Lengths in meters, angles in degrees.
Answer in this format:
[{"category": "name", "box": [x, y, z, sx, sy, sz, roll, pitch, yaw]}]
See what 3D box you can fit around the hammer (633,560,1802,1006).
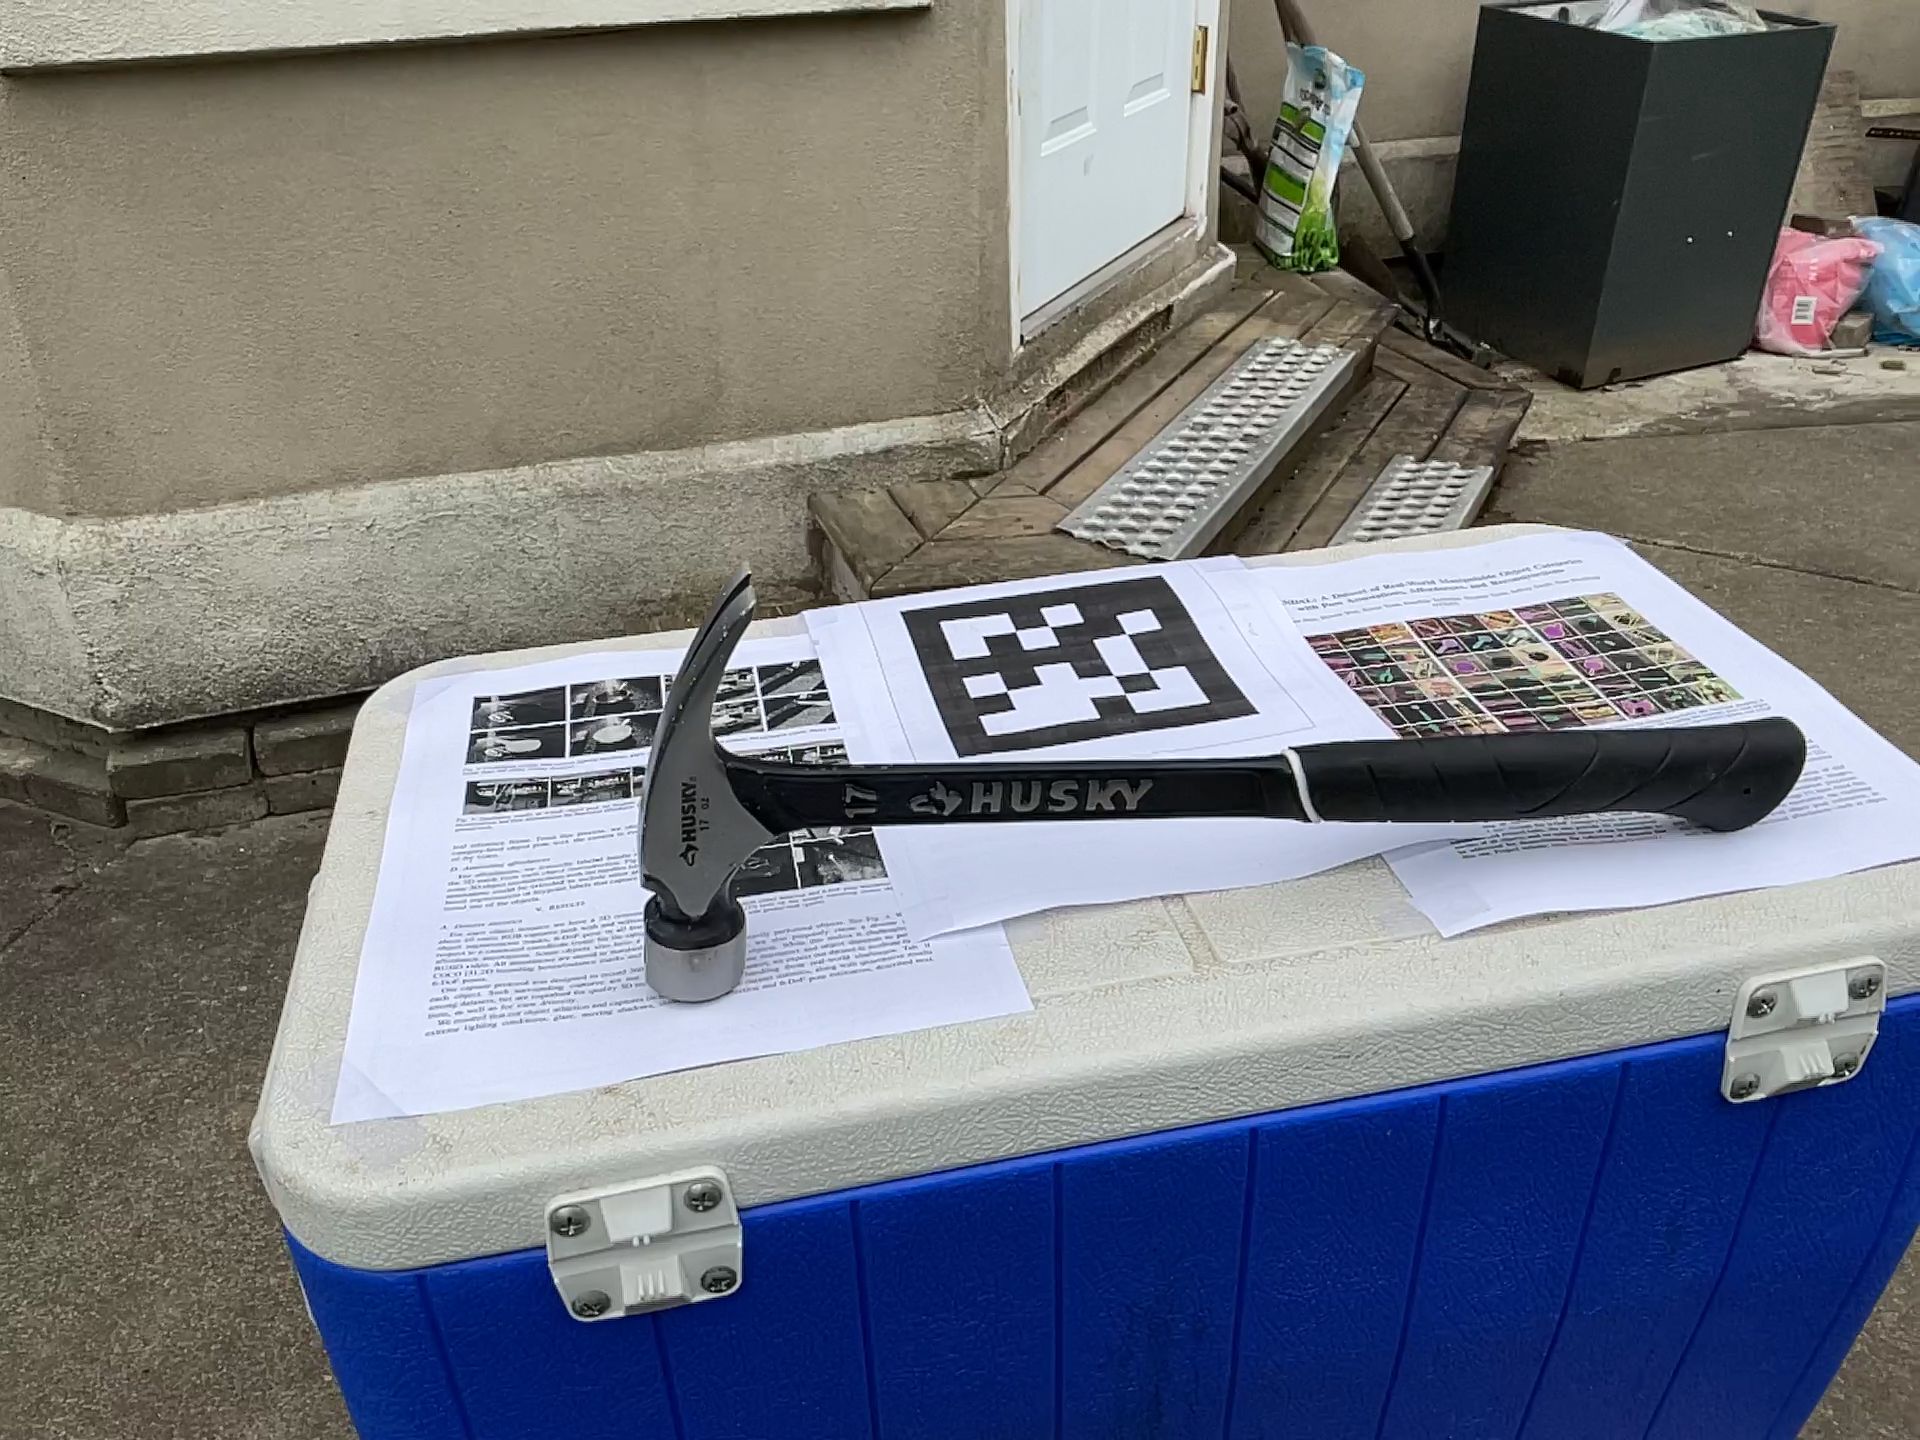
[{"category": "hammer", "box": [0.097, 0.018, 0.539, 0.408, 0.149, 0.036, -2, 31, -12]}]
